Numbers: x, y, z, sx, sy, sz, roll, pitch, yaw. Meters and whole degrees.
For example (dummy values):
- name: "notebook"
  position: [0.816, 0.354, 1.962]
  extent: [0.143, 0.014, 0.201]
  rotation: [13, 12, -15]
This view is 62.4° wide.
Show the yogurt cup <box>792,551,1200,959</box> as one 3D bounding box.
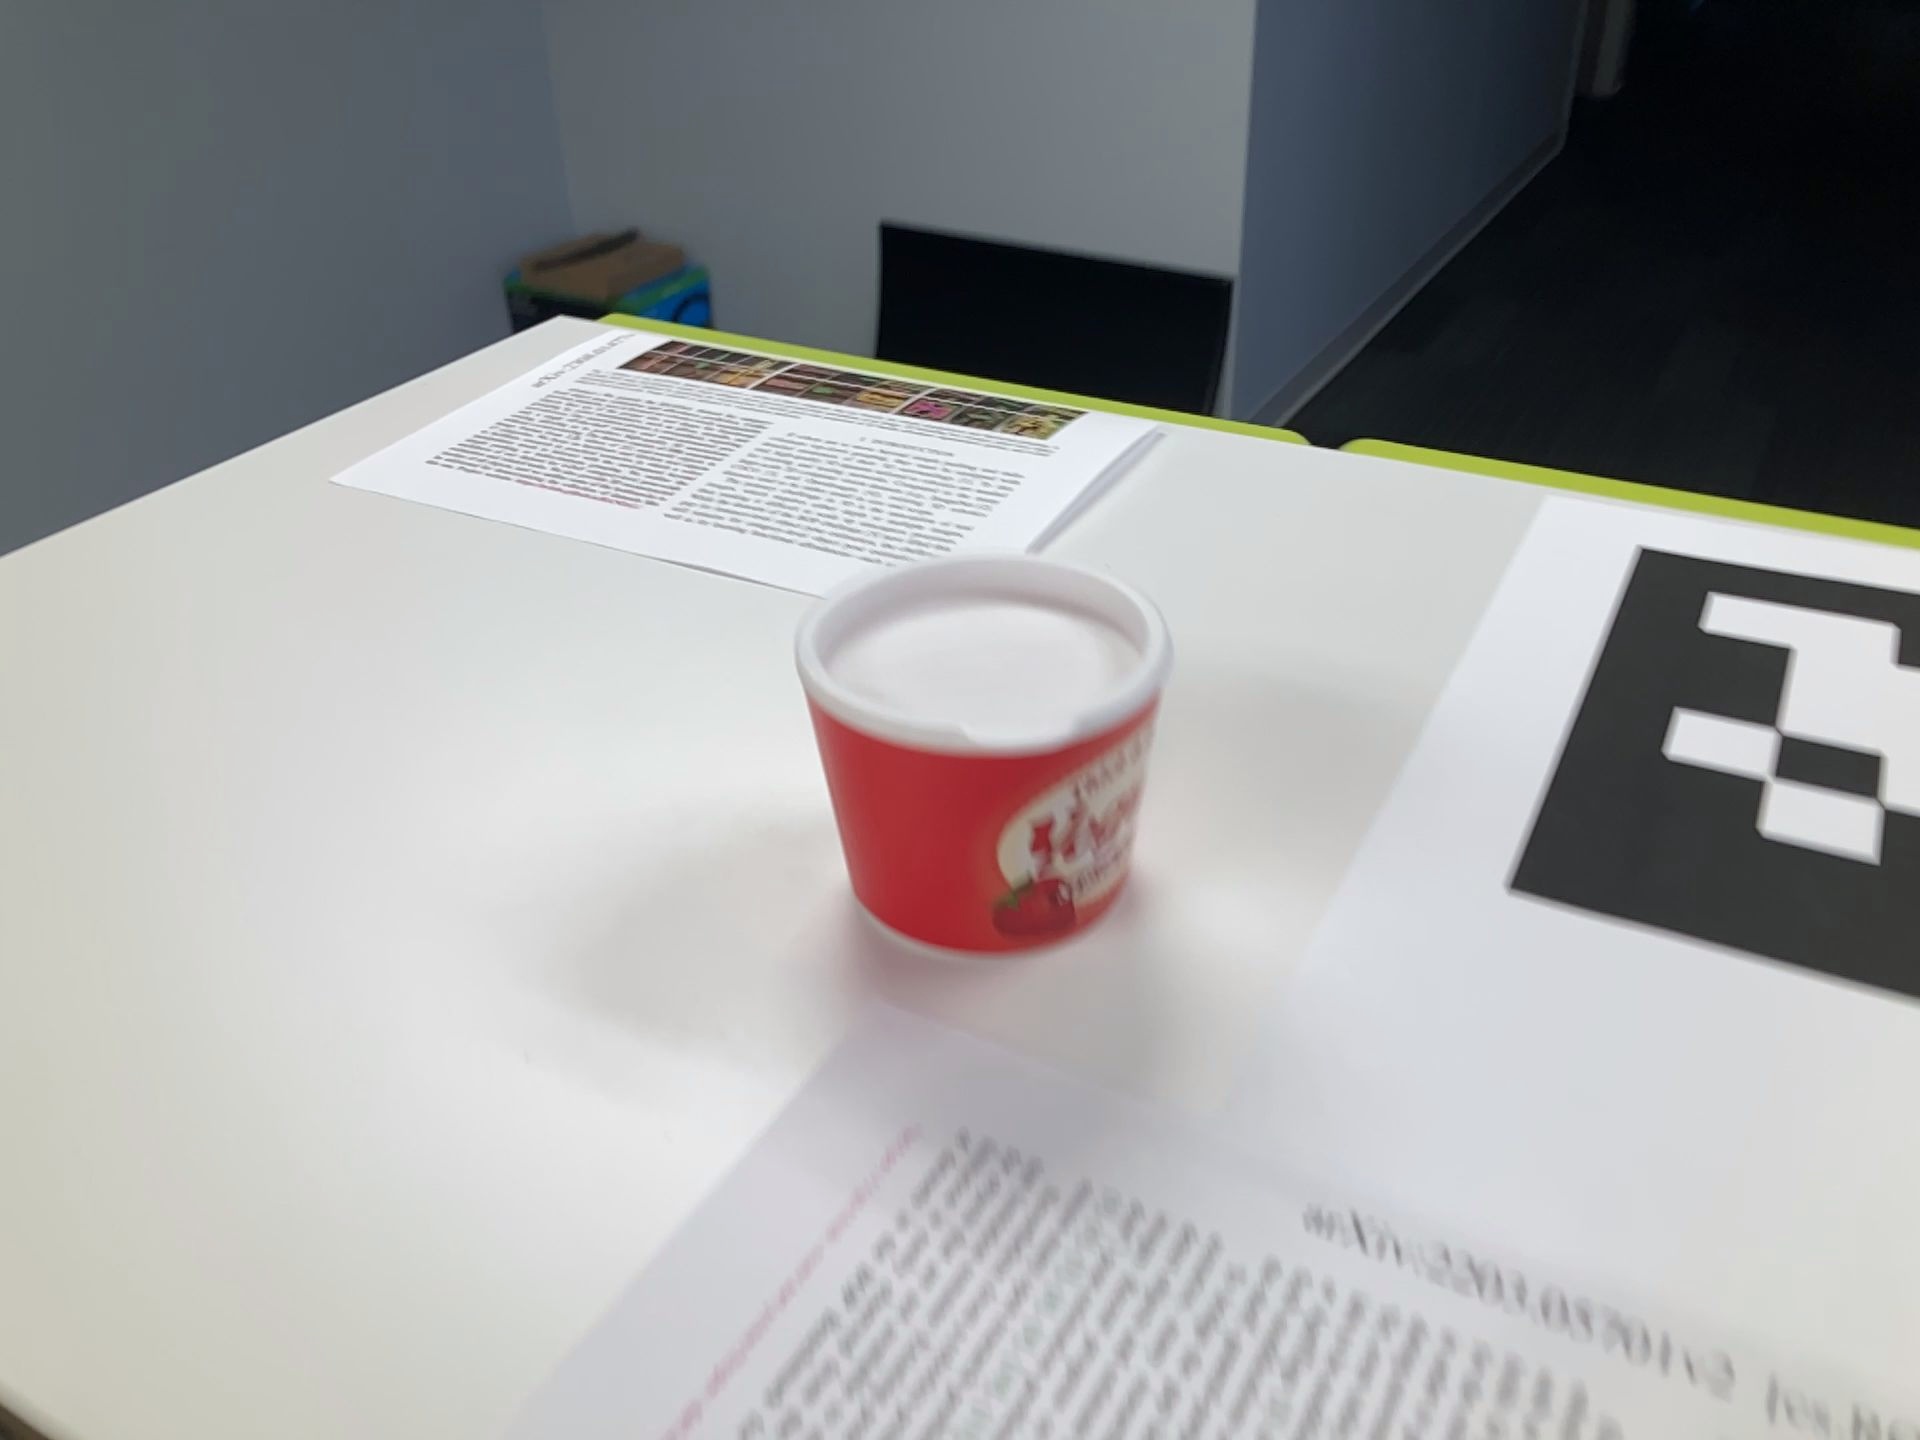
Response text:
- name: "yogurt cup"
  position: [0.005, 0.007, 0.293]
  extent: [0.072, 0.054, 0.072]
  rotation: [-2, 31, 1]
